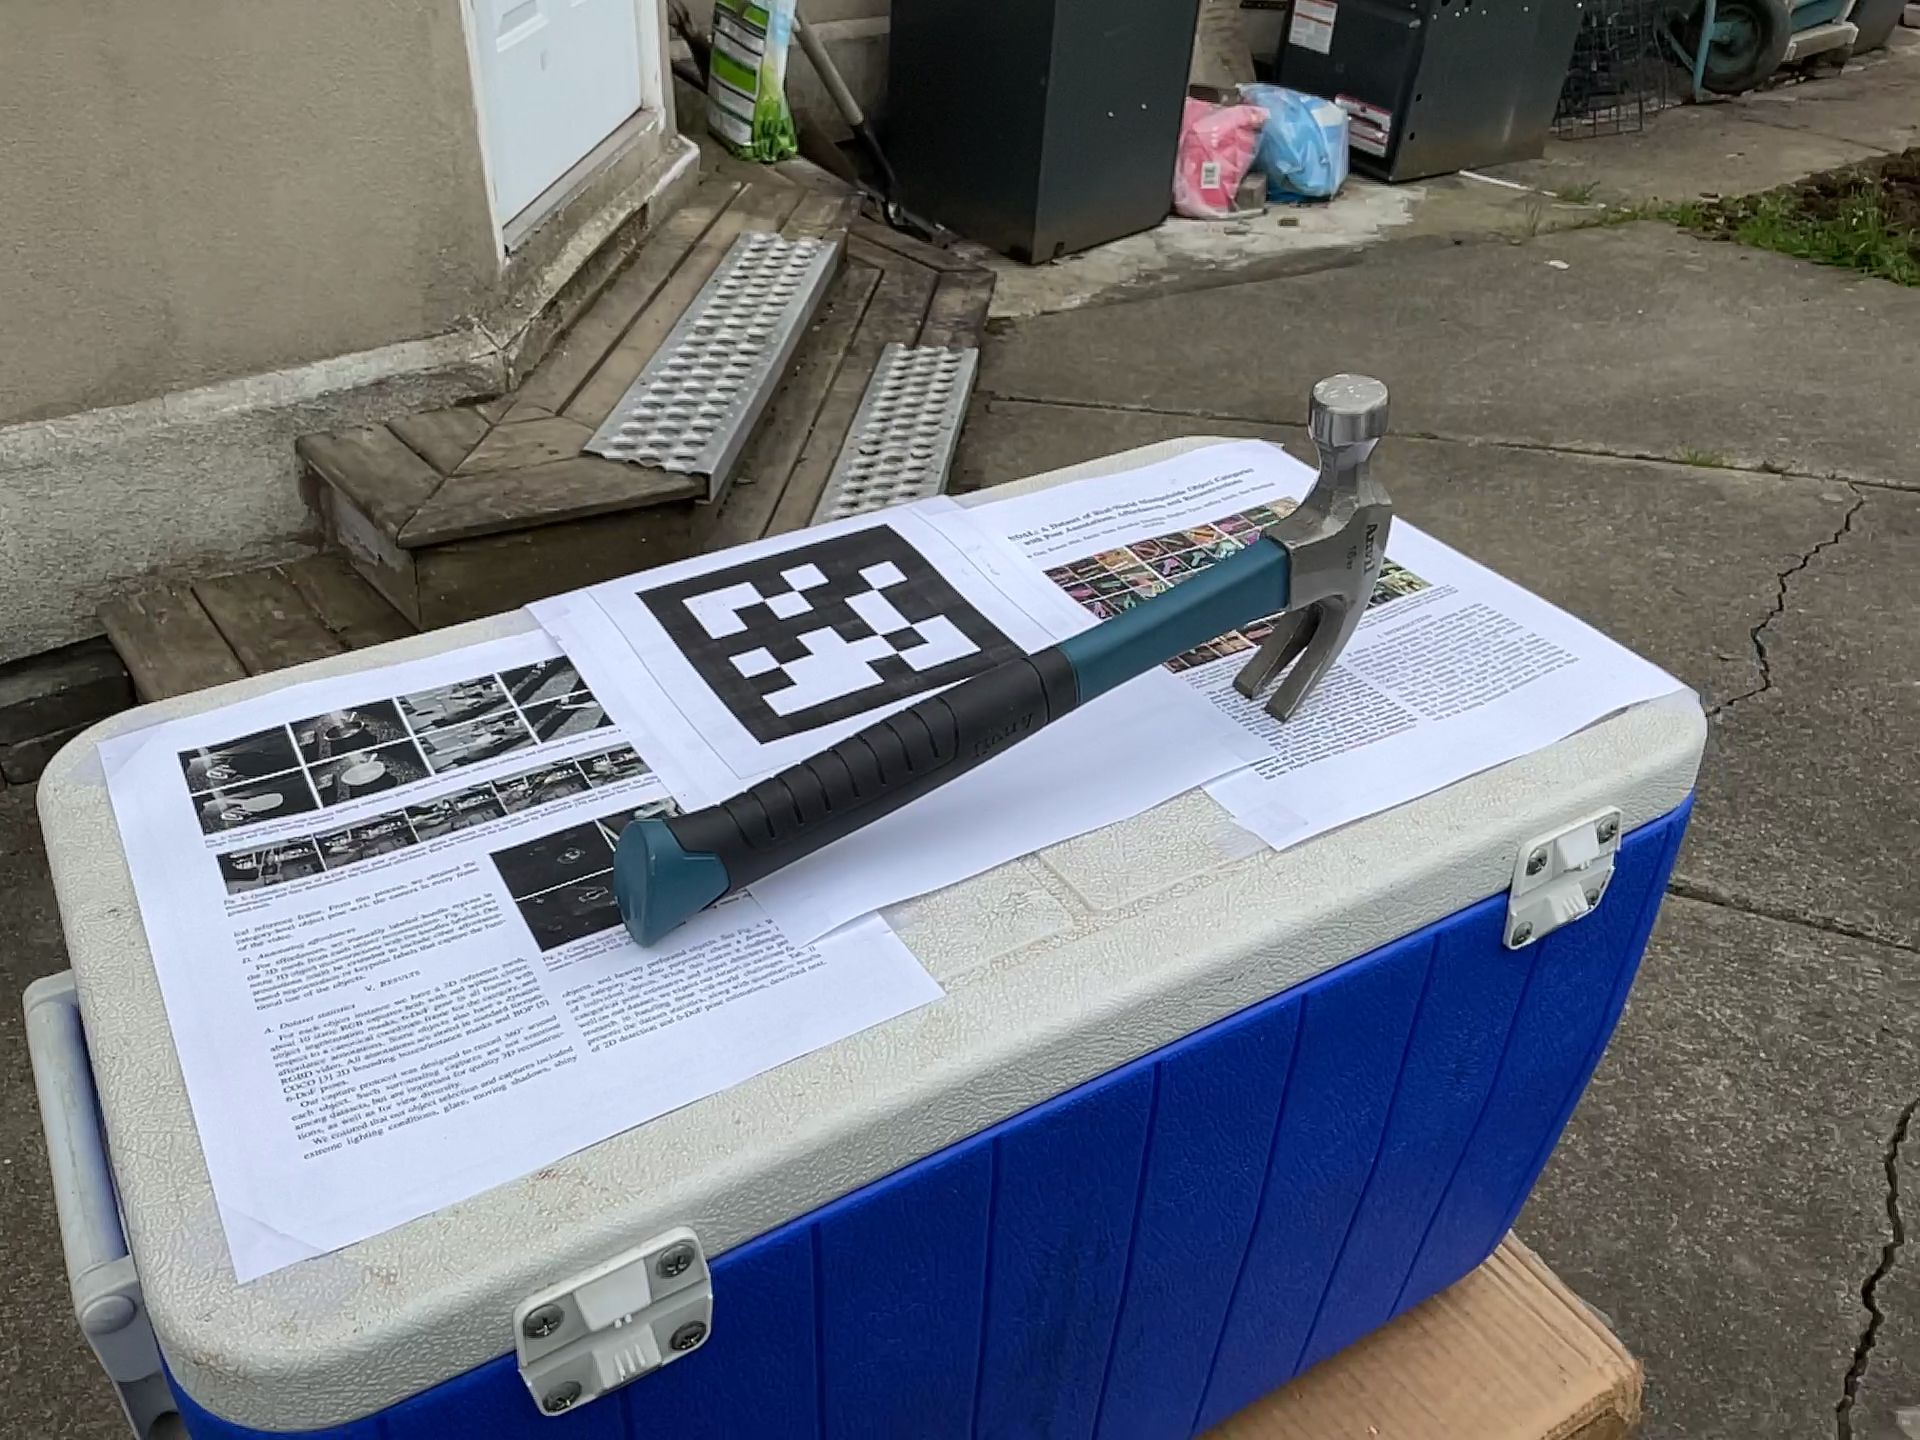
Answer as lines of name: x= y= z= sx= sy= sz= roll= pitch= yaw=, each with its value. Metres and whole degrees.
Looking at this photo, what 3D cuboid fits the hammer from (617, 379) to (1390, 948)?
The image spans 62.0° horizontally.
hammer: x=0.027 y=-0.011 z=0.586 sx=0.331 sy=0.128 sz=0.033 roll=-26 pitch=41 yaw=-21
